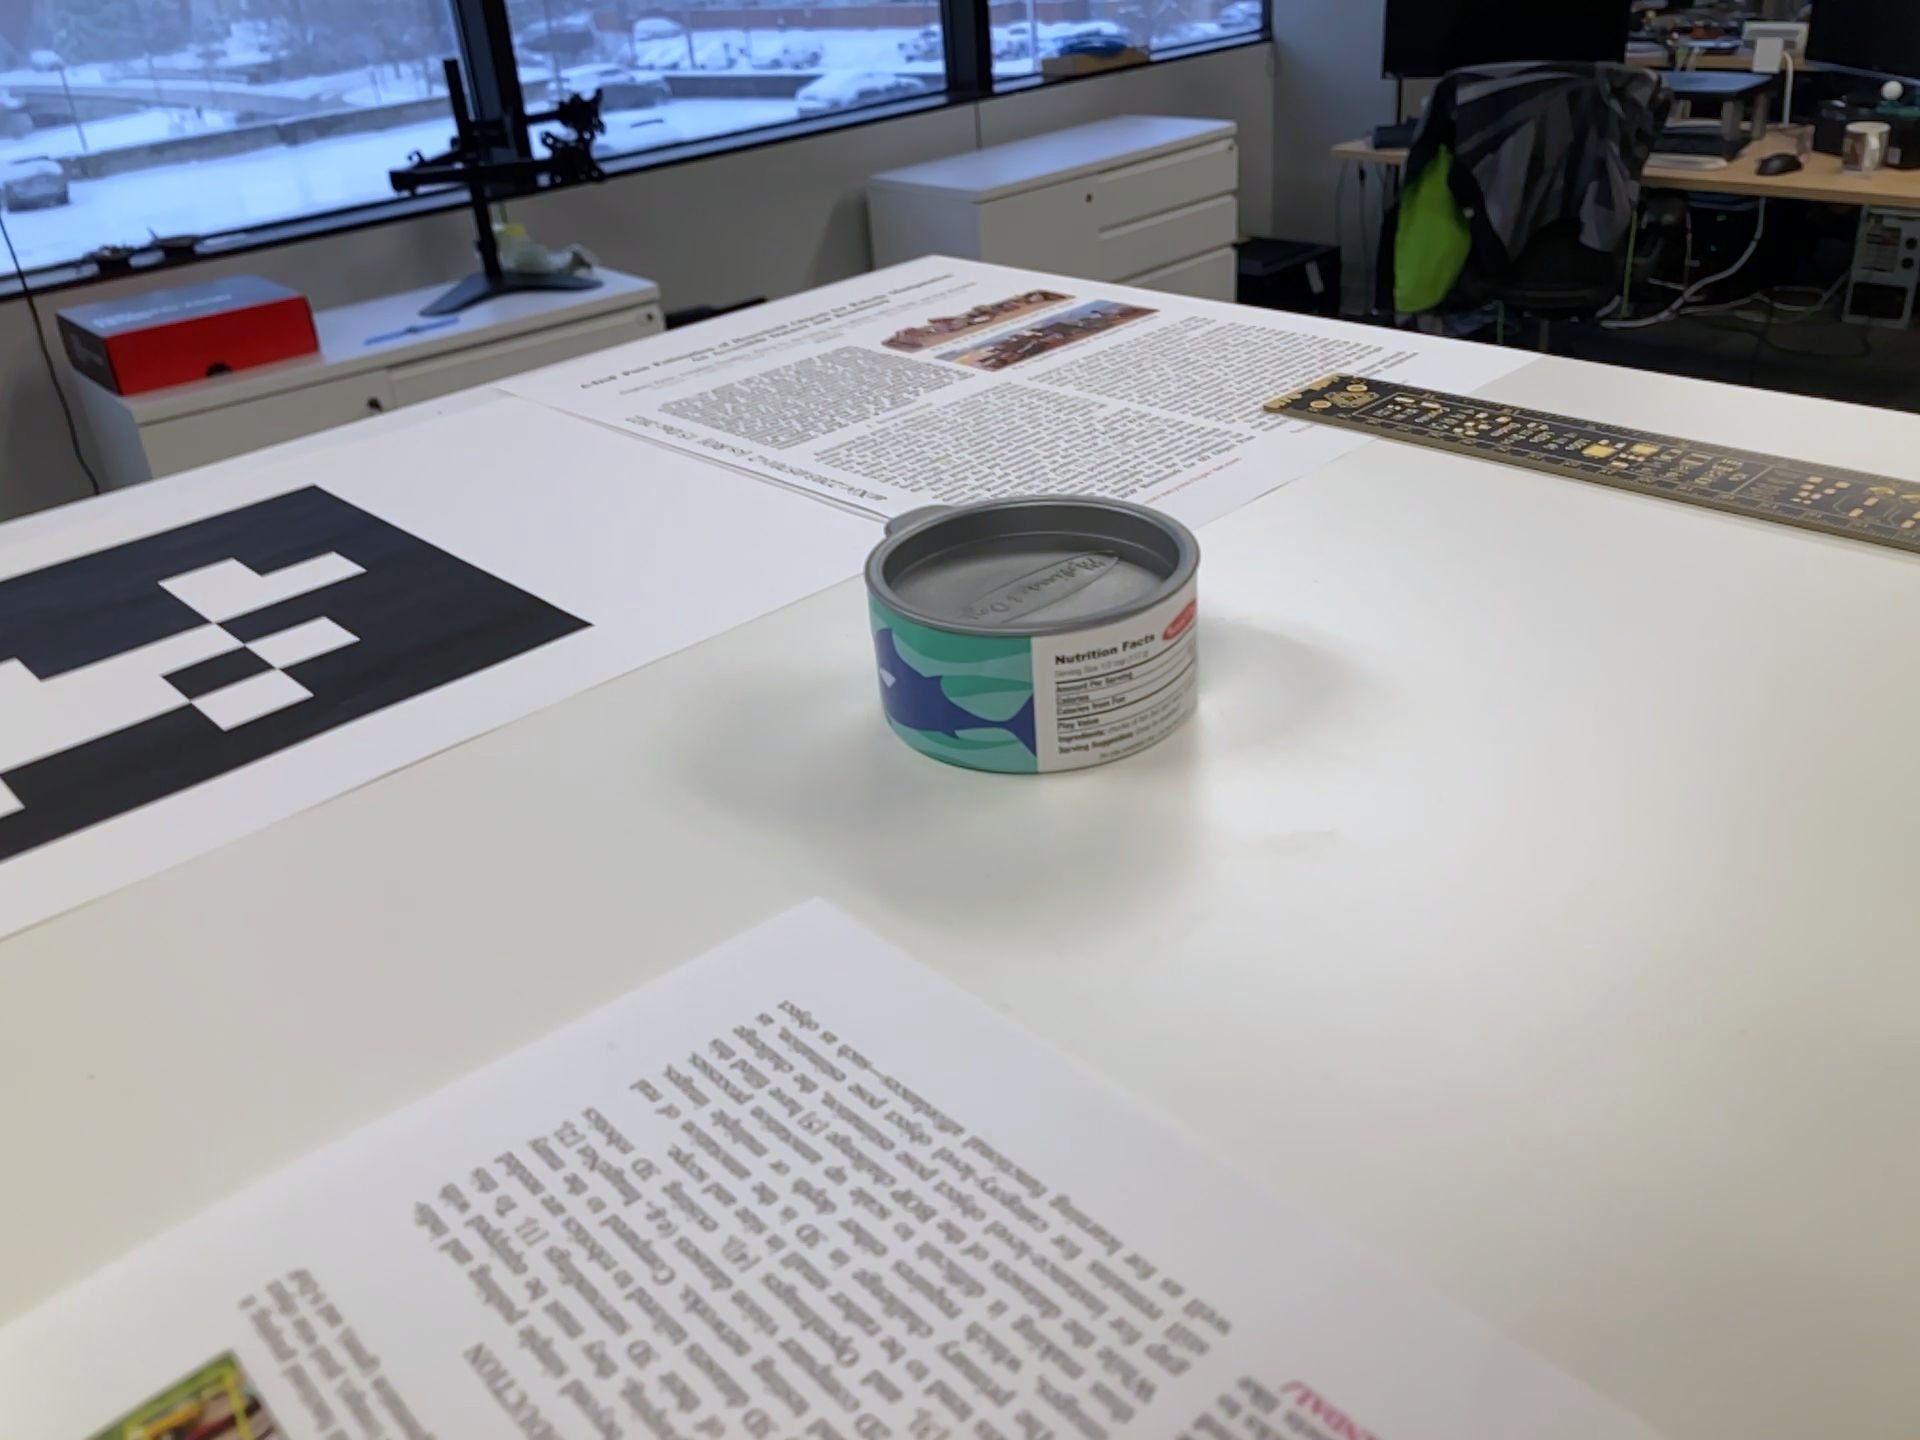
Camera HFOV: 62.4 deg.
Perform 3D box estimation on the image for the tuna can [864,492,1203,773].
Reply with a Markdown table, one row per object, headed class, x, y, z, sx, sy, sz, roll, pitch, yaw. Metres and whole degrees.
| class | x | y | z | sx | sy | sz | roll | pitch | yaw |
| --- | --- | --- | --- | --- | --- | --- | --- | --- | --- |
| tuna can | 0.013 | -0.020 | 0.319 | 0.071 | 0.033 | 0.071 | -4 | 28 | 2 |
